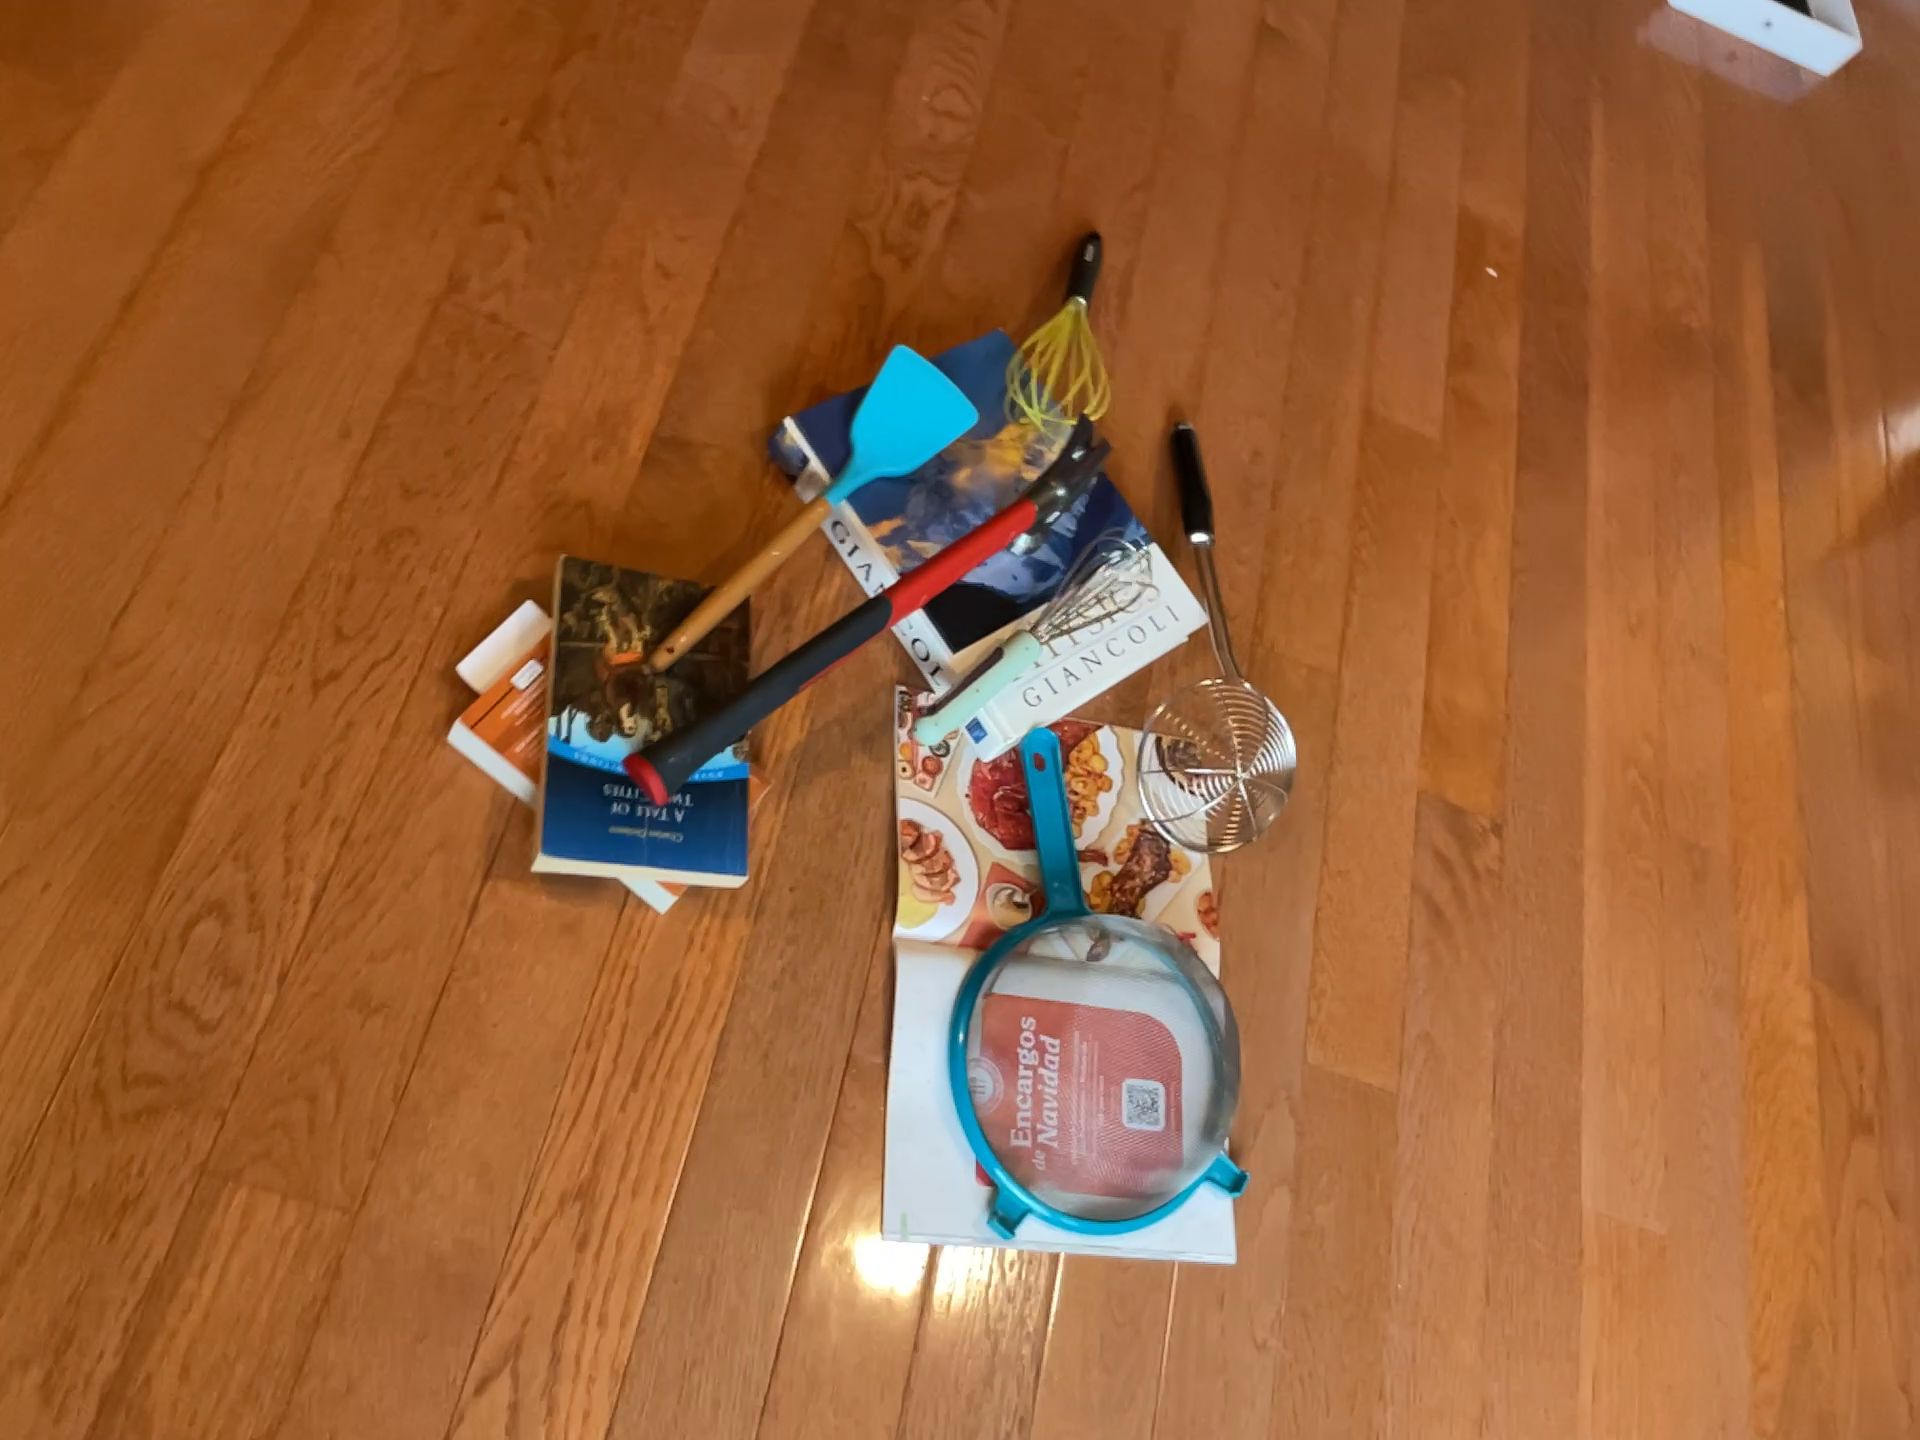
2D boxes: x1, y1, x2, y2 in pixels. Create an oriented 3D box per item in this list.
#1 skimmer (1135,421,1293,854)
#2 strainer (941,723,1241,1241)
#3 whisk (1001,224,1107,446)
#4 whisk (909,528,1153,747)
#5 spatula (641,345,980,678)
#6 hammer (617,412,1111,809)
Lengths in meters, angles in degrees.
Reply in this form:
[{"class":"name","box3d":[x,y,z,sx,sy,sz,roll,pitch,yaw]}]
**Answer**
[{"class":"skimmer","box3d":[0.180,-0.074,1.234,0.127,0.090,0.364,10,53,-19]},{"class":"strainer","box3d":[0.092,0.158,1.035,0.211,0.095,0.341,-1,75,-25]},{"class":"whisk","box3d":[0.088,-0.314,1.262,0.080,0.067,0.312,16,46,-1]},{"class":"whisk","box3d":[0.052,-0.057,1.116,0.247,0.057,0.059,-40,119,-29]},{"class":"spatula","box3d":[-0.106,-0.135,1.071,0.082,0.044,0.318,43,57,-4]},{"class":"hammer","box3d":[-0.054,-0.069,1.019,0.387,0.143,0.038,-38,84,-31]}]
